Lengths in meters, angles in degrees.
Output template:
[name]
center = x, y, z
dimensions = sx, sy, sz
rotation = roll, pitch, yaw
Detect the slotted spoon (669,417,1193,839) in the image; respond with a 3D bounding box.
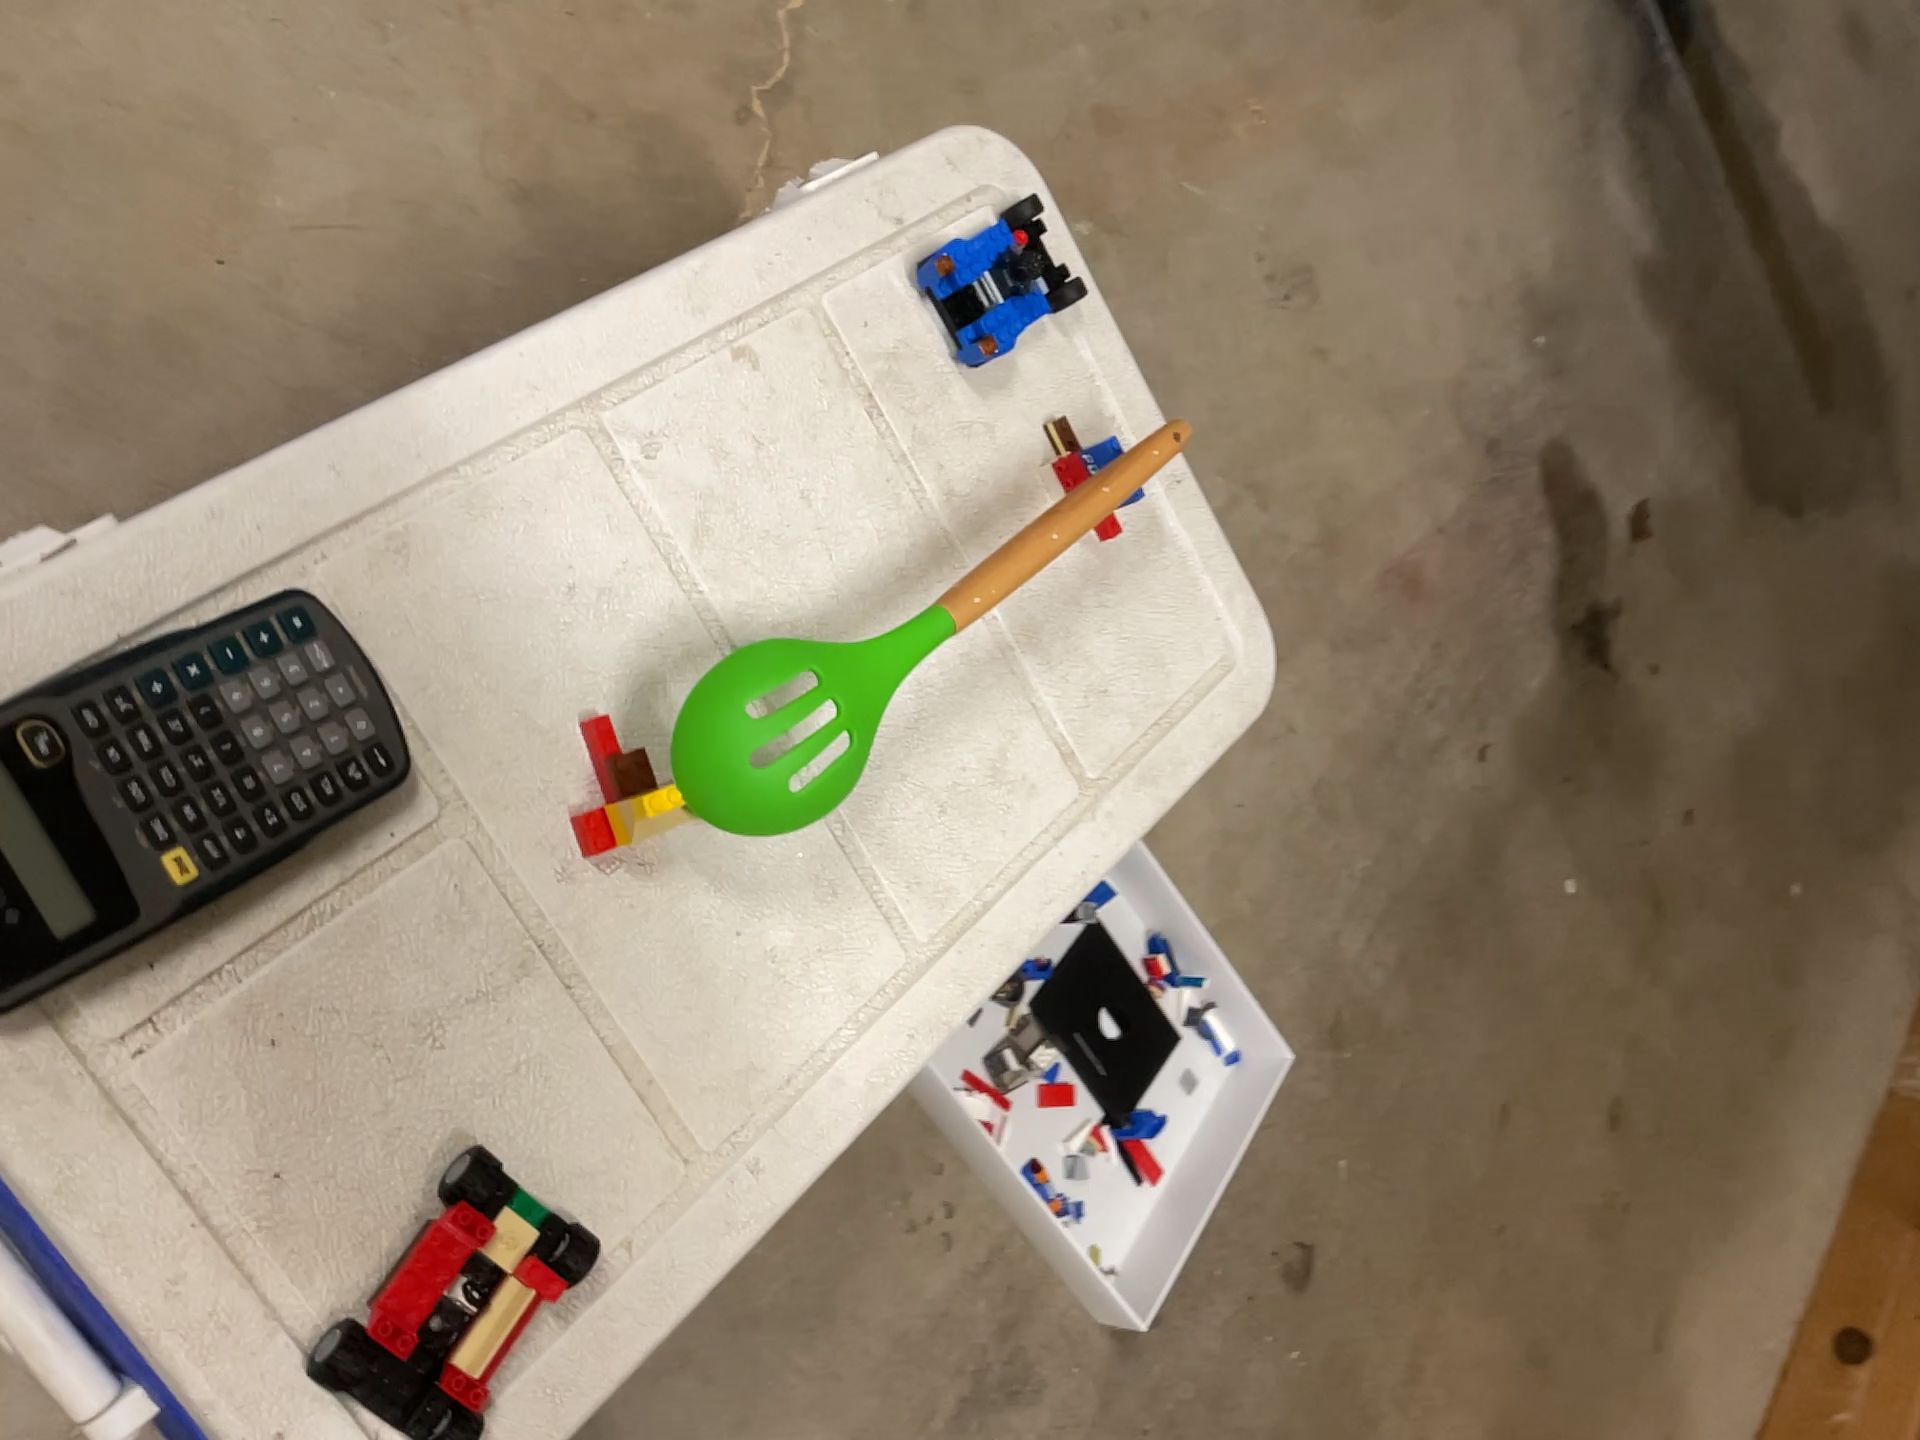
[slotted spoon]
center = 0.007, -0.055, 0.649
dimensions = 0.314, 0.031, 0.070
rotation = -40, 106, -36
